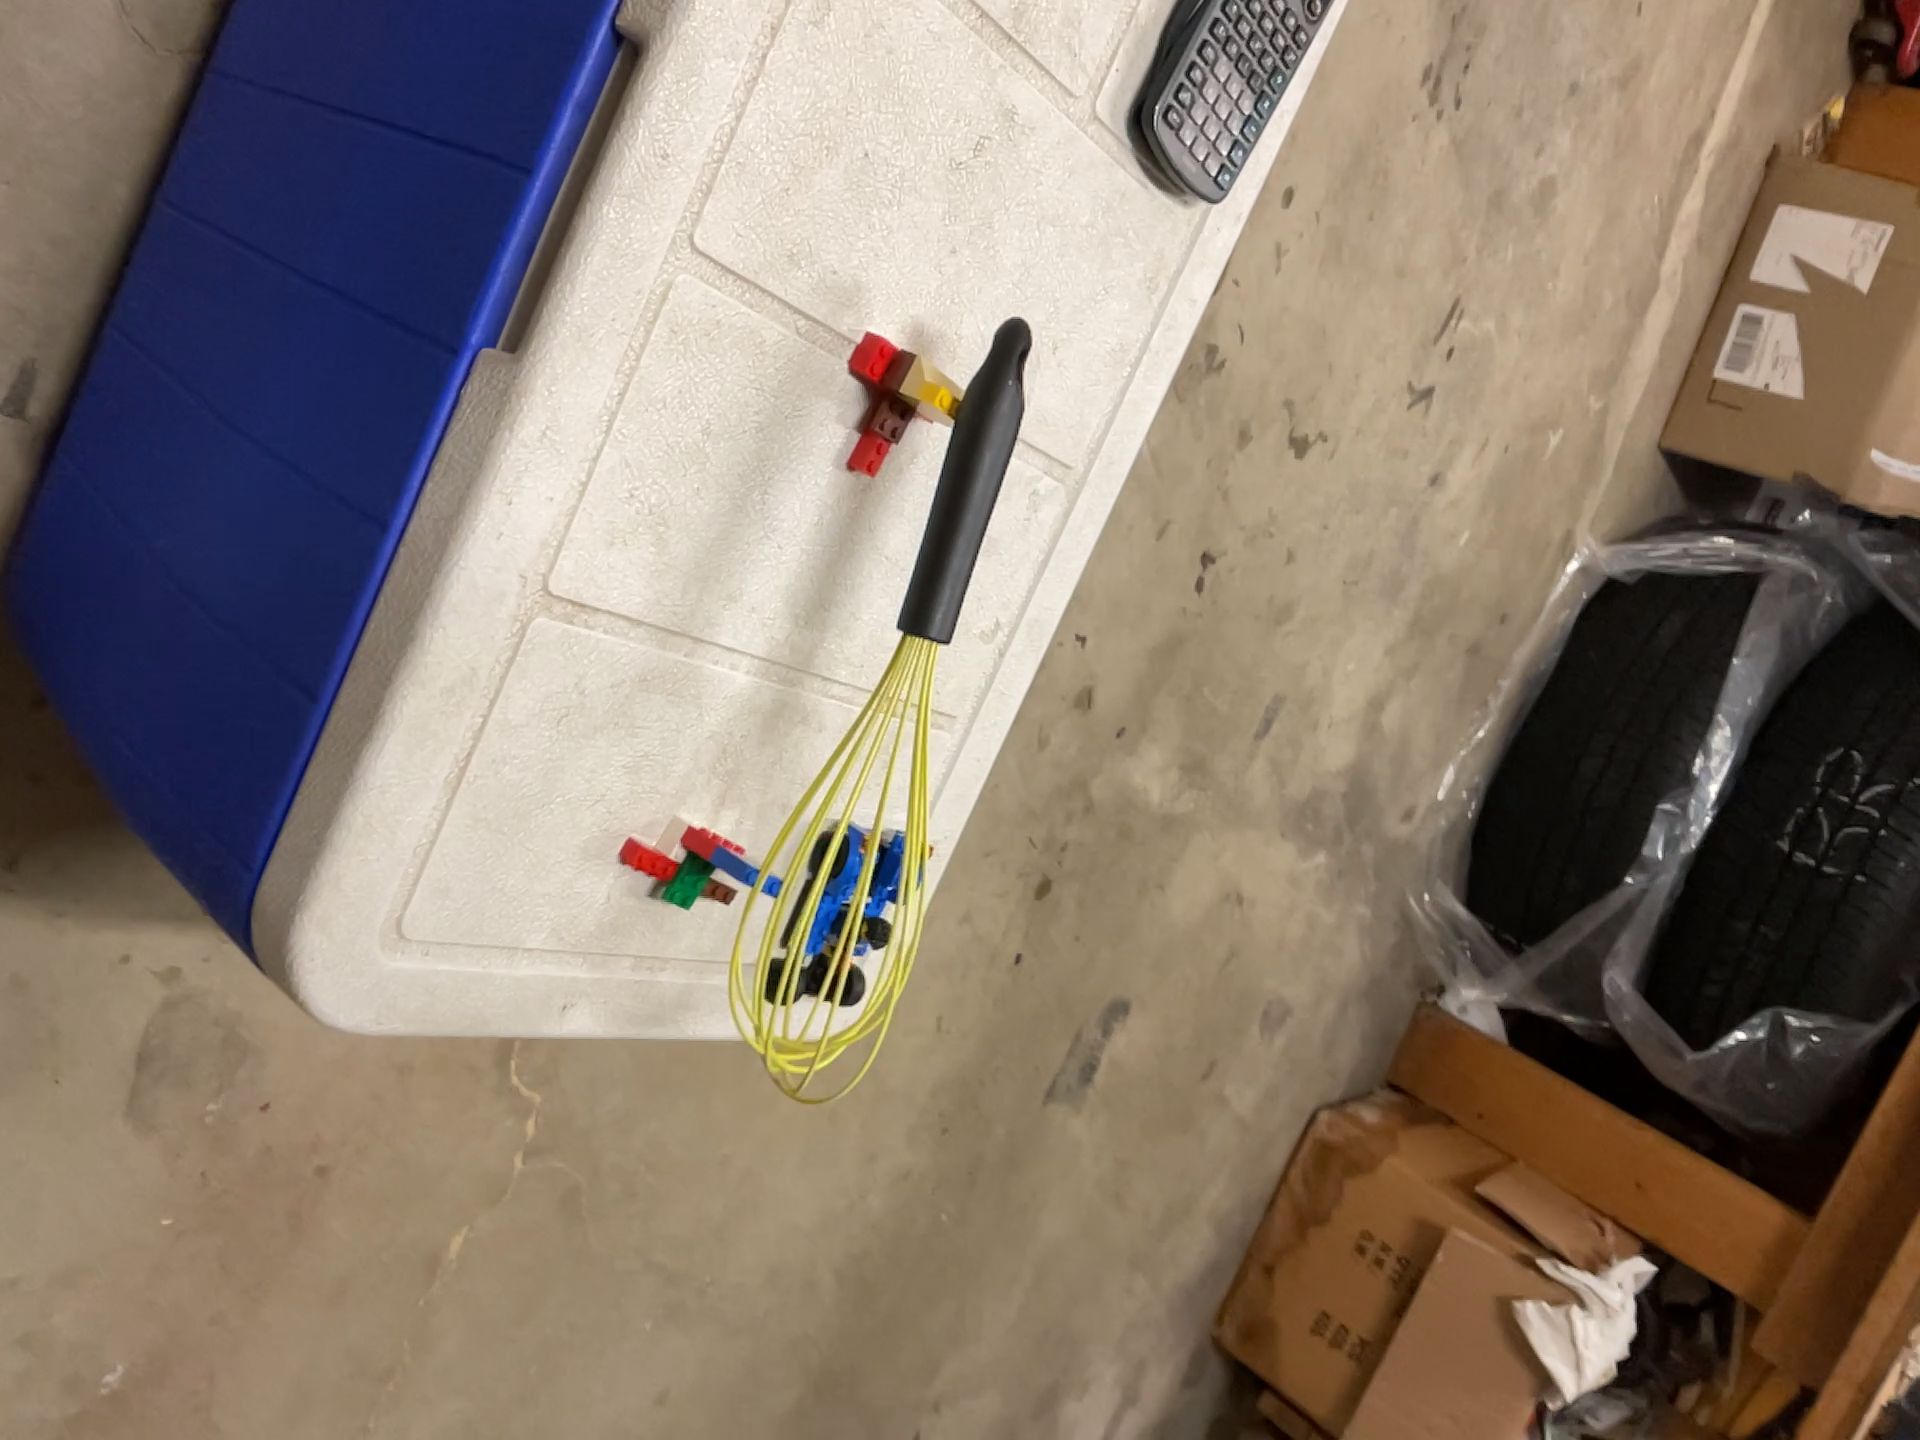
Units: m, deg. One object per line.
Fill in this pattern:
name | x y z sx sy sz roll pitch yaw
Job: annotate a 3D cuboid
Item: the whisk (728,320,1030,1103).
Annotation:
whisk | -0.025 -0.004 0.615 0.080 0.067 0.311 -148 -105 -81
